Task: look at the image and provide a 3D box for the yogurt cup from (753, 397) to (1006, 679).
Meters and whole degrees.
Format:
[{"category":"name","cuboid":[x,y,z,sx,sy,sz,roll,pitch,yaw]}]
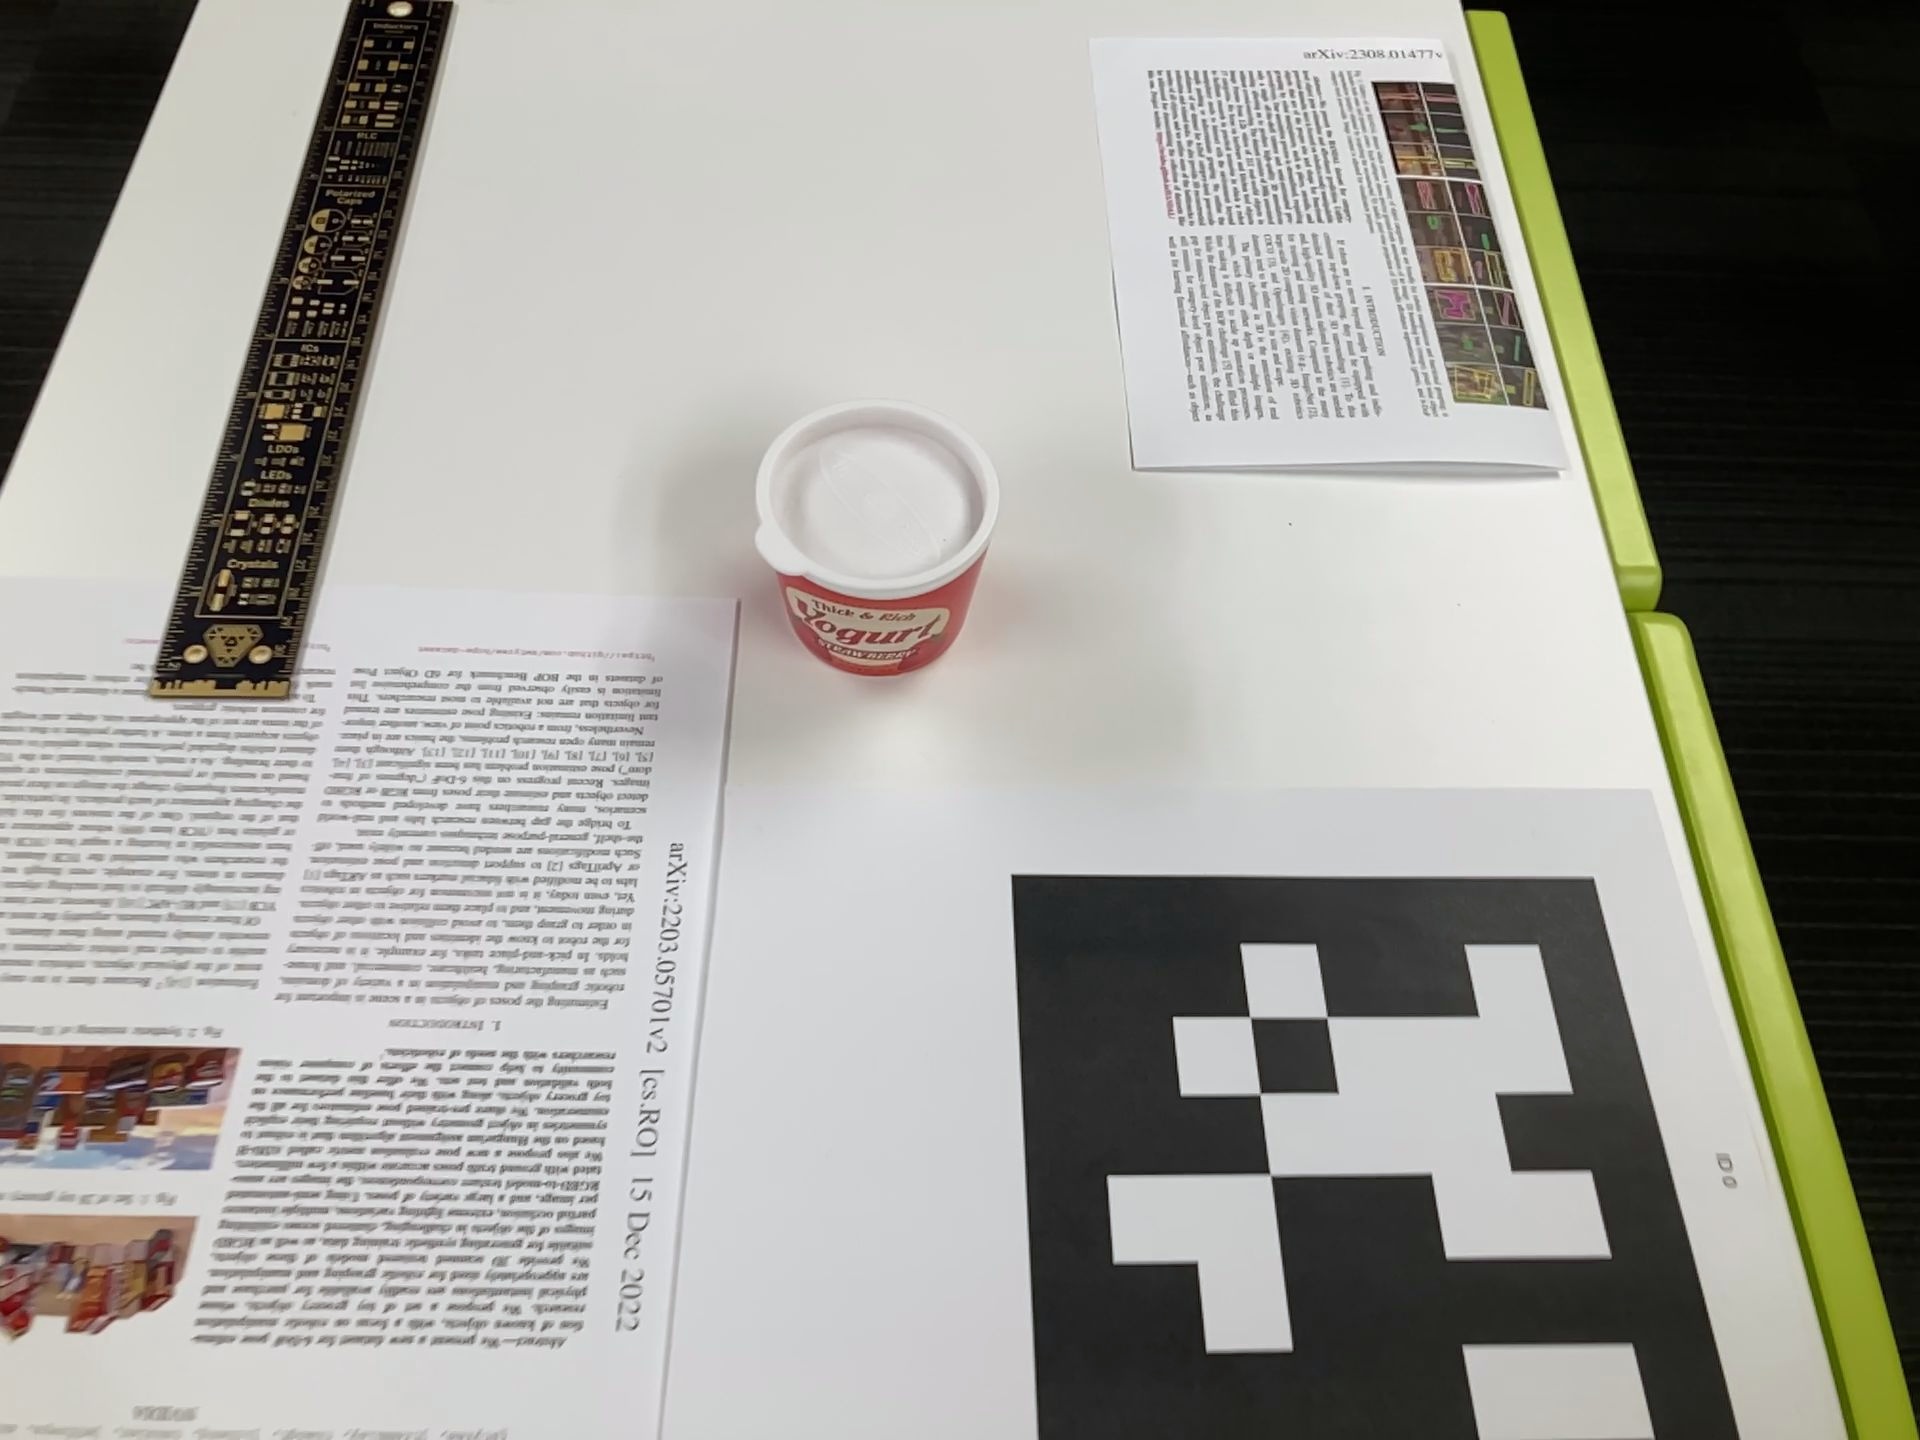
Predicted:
[{"category":"yogurt cup","cuboid":[-0.023,-0.049,0.447,0.072,0.054,0.072,2,58,-3]}]
